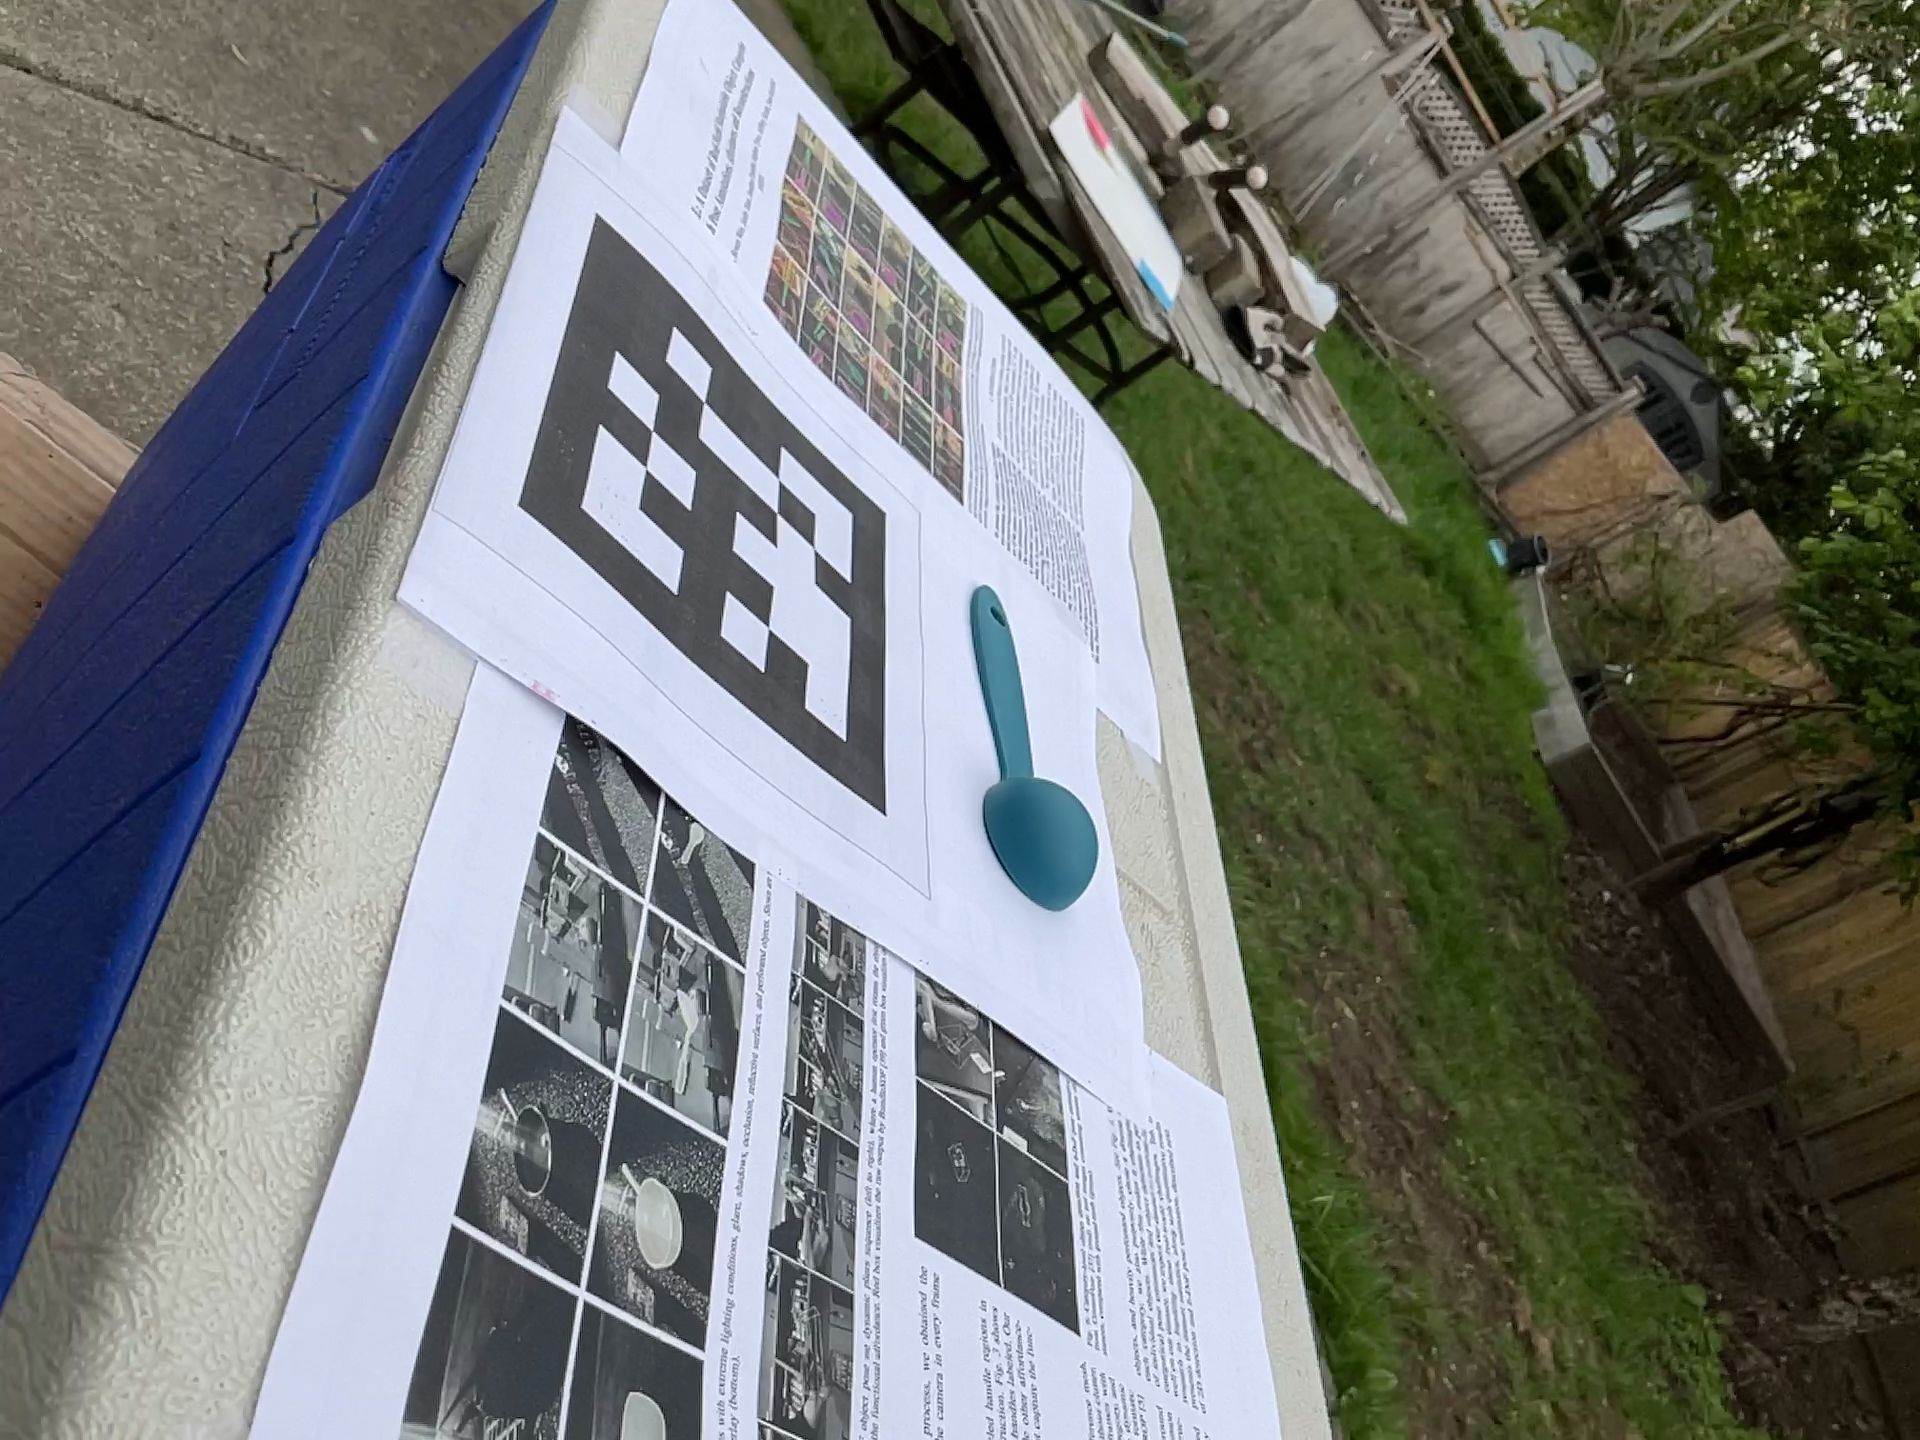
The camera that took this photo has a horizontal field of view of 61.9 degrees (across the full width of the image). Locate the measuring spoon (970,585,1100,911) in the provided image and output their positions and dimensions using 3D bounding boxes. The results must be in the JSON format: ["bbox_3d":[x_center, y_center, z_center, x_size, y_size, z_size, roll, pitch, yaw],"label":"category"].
[{"bbox_3d":[0.022,0.000,0.499,0.042,0.021,0.129,30,37,-38],"label":"measuring spoon"}]
